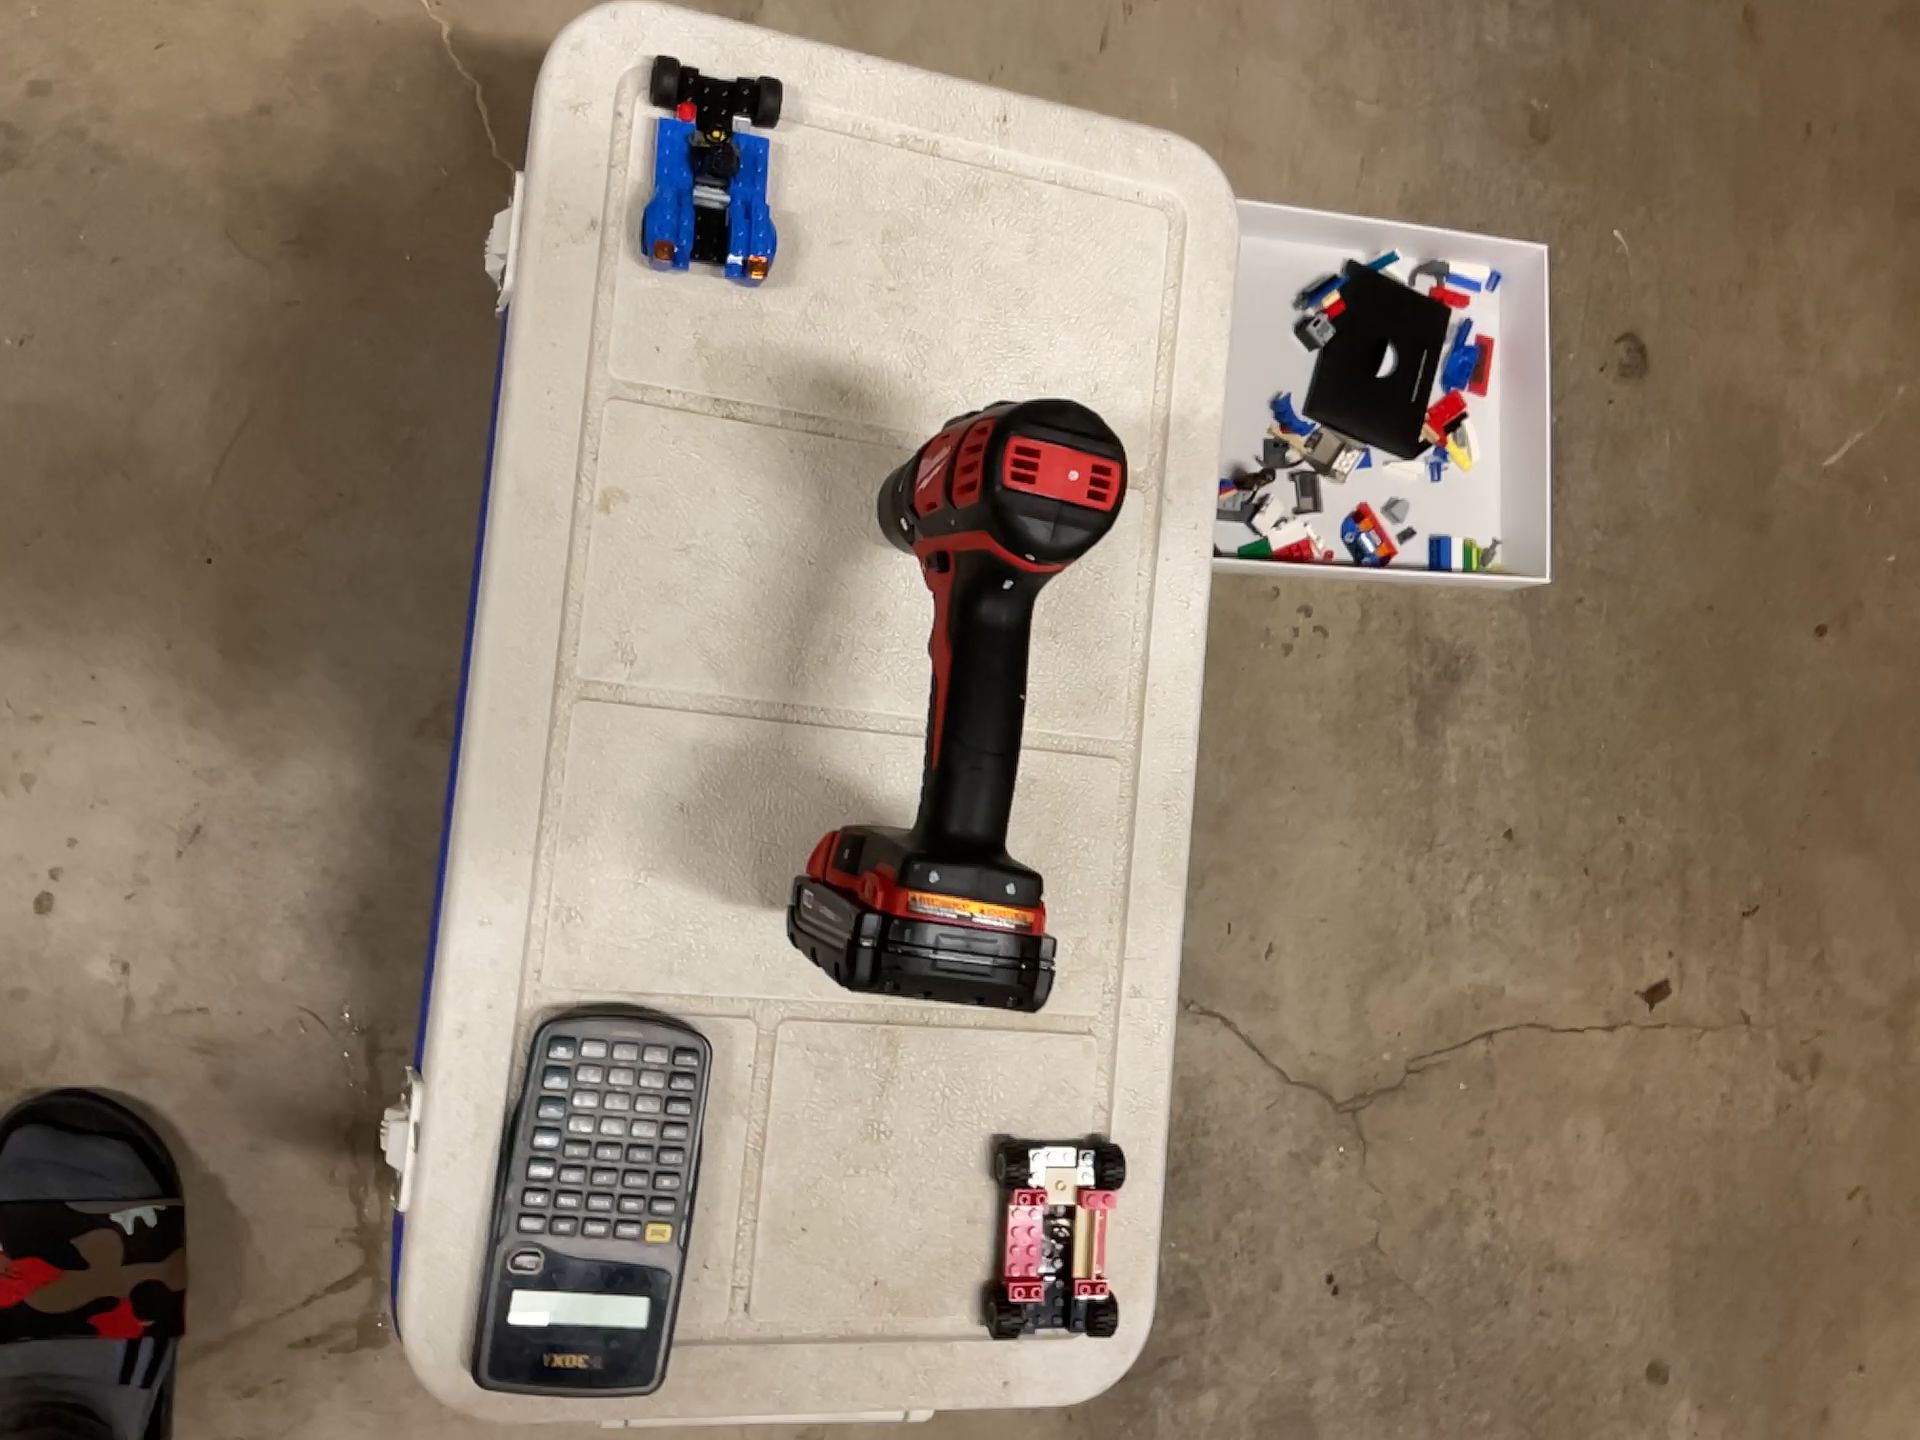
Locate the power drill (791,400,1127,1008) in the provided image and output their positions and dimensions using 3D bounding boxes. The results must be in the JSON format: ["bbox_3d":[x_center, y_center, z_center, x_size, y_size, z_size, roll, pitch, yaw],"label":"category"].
[{"bbox_3d":[-0.007,-0.013,0.648,0.080,0.188,0.226,11,90,-18],"label":"power drill"}]
